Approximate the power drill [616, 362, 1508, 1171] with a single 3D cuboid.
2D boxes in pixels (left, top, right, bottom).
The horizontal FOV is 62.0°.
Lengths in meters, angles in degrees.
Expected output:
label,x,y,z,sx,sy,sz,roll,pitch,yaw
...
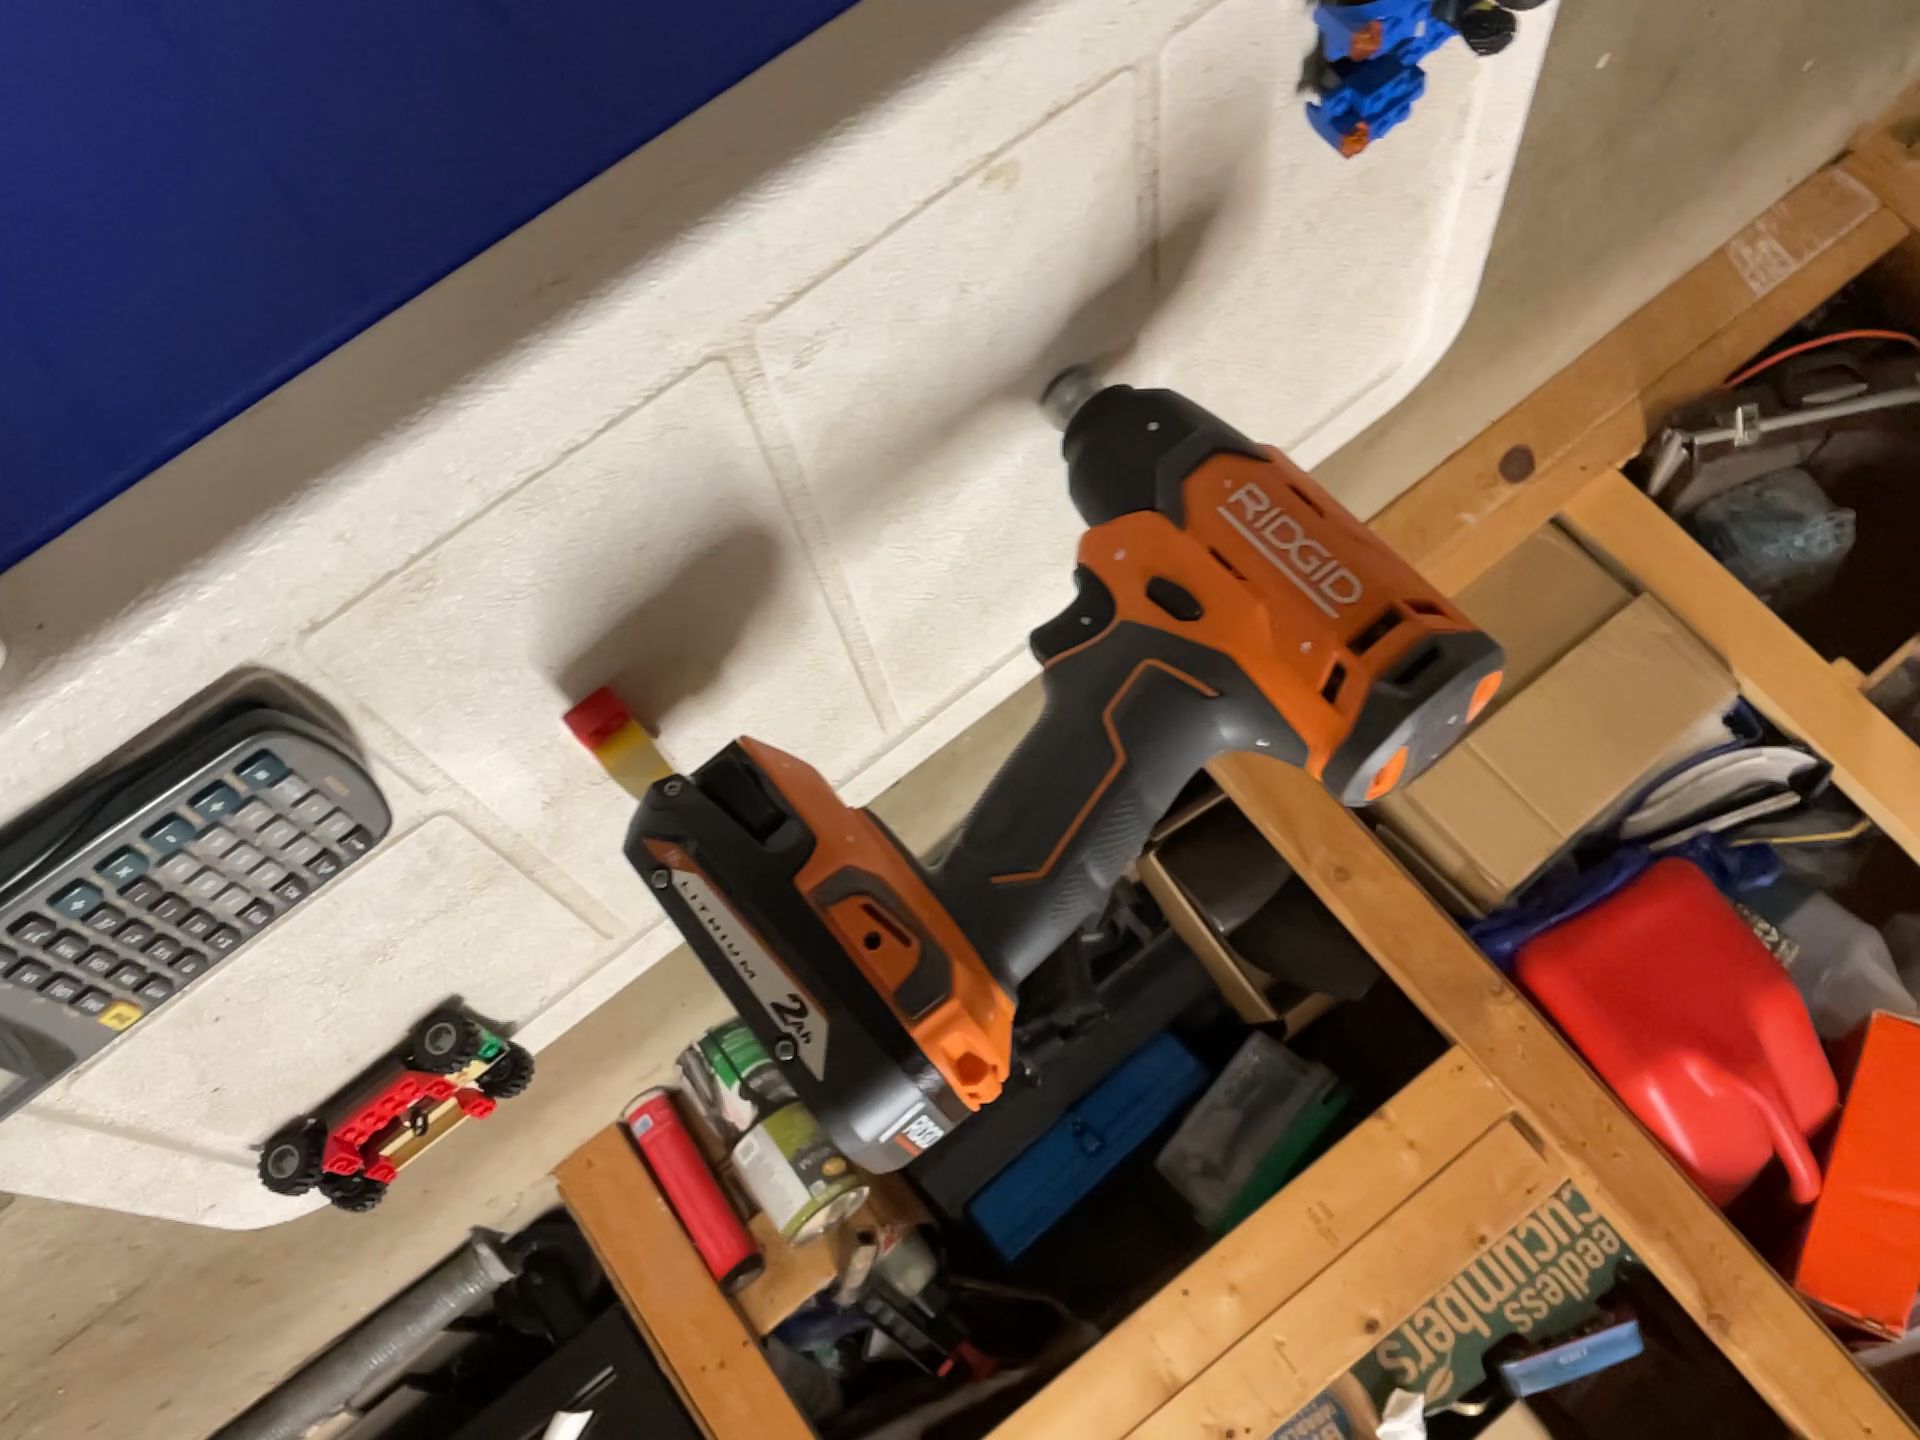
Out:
label,x,y,z,sx,sy,sz,roll,pitch,yaw
power drill,0.019,0.000,0.463,0.226,0.164,0.084,-38,157,-8
